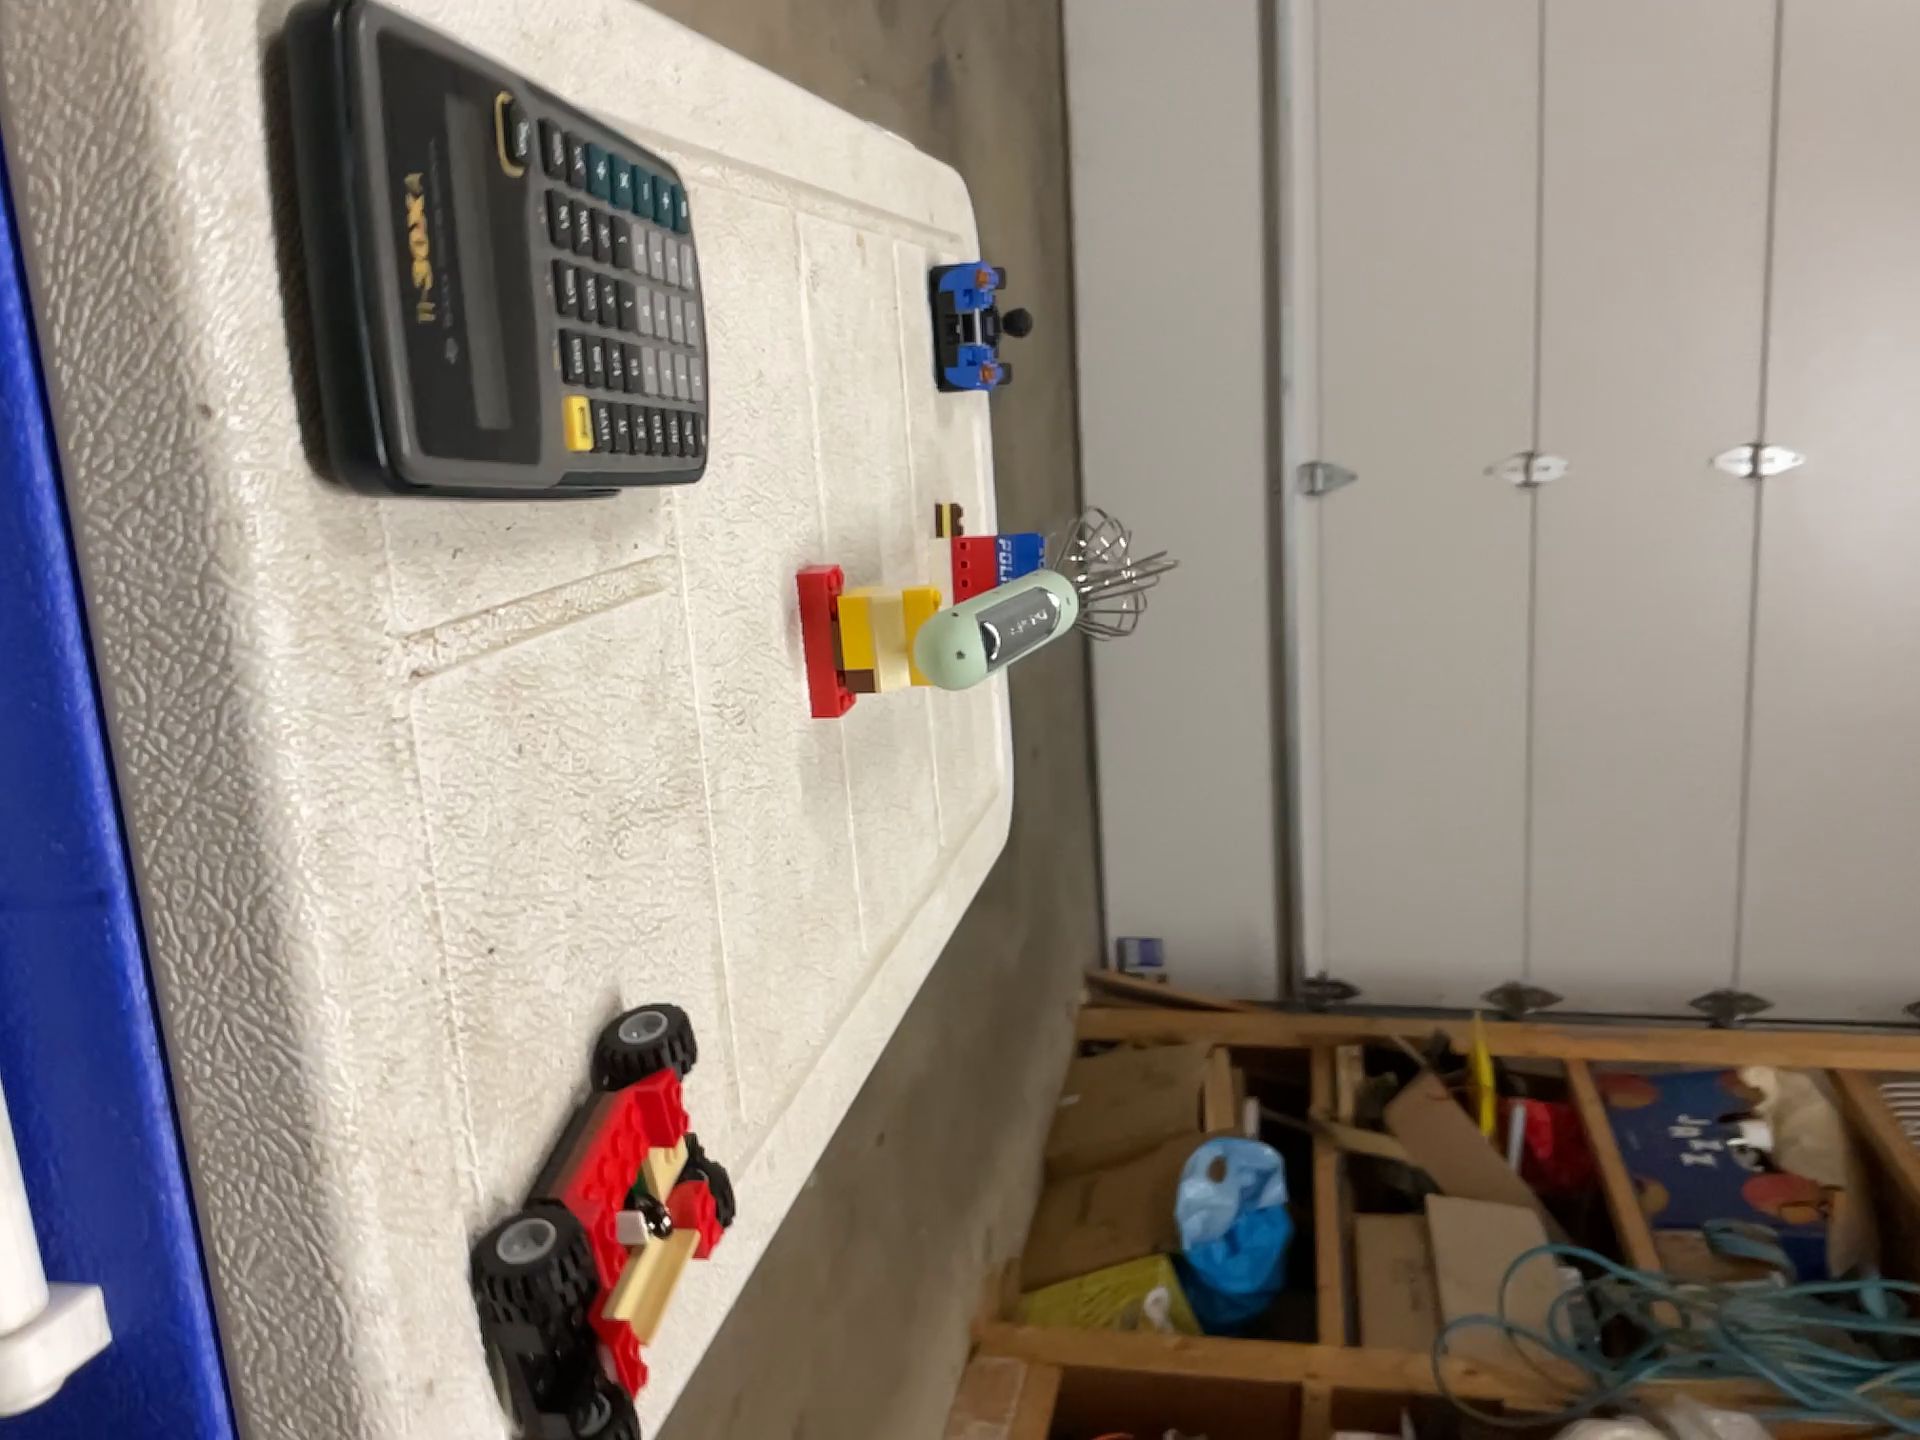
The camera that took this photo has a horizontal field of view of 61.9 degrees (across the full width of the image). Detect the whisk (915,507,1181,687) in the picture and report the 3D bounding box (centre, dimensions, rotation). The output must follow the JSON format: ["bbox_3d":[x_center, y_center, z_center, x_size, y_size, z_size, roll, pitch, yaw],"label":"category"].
[{"bbox_3d":[0.035,-0.045,0.596,0.246,0.059,0.058,-32,113,-68],"label":"whisk"}]
